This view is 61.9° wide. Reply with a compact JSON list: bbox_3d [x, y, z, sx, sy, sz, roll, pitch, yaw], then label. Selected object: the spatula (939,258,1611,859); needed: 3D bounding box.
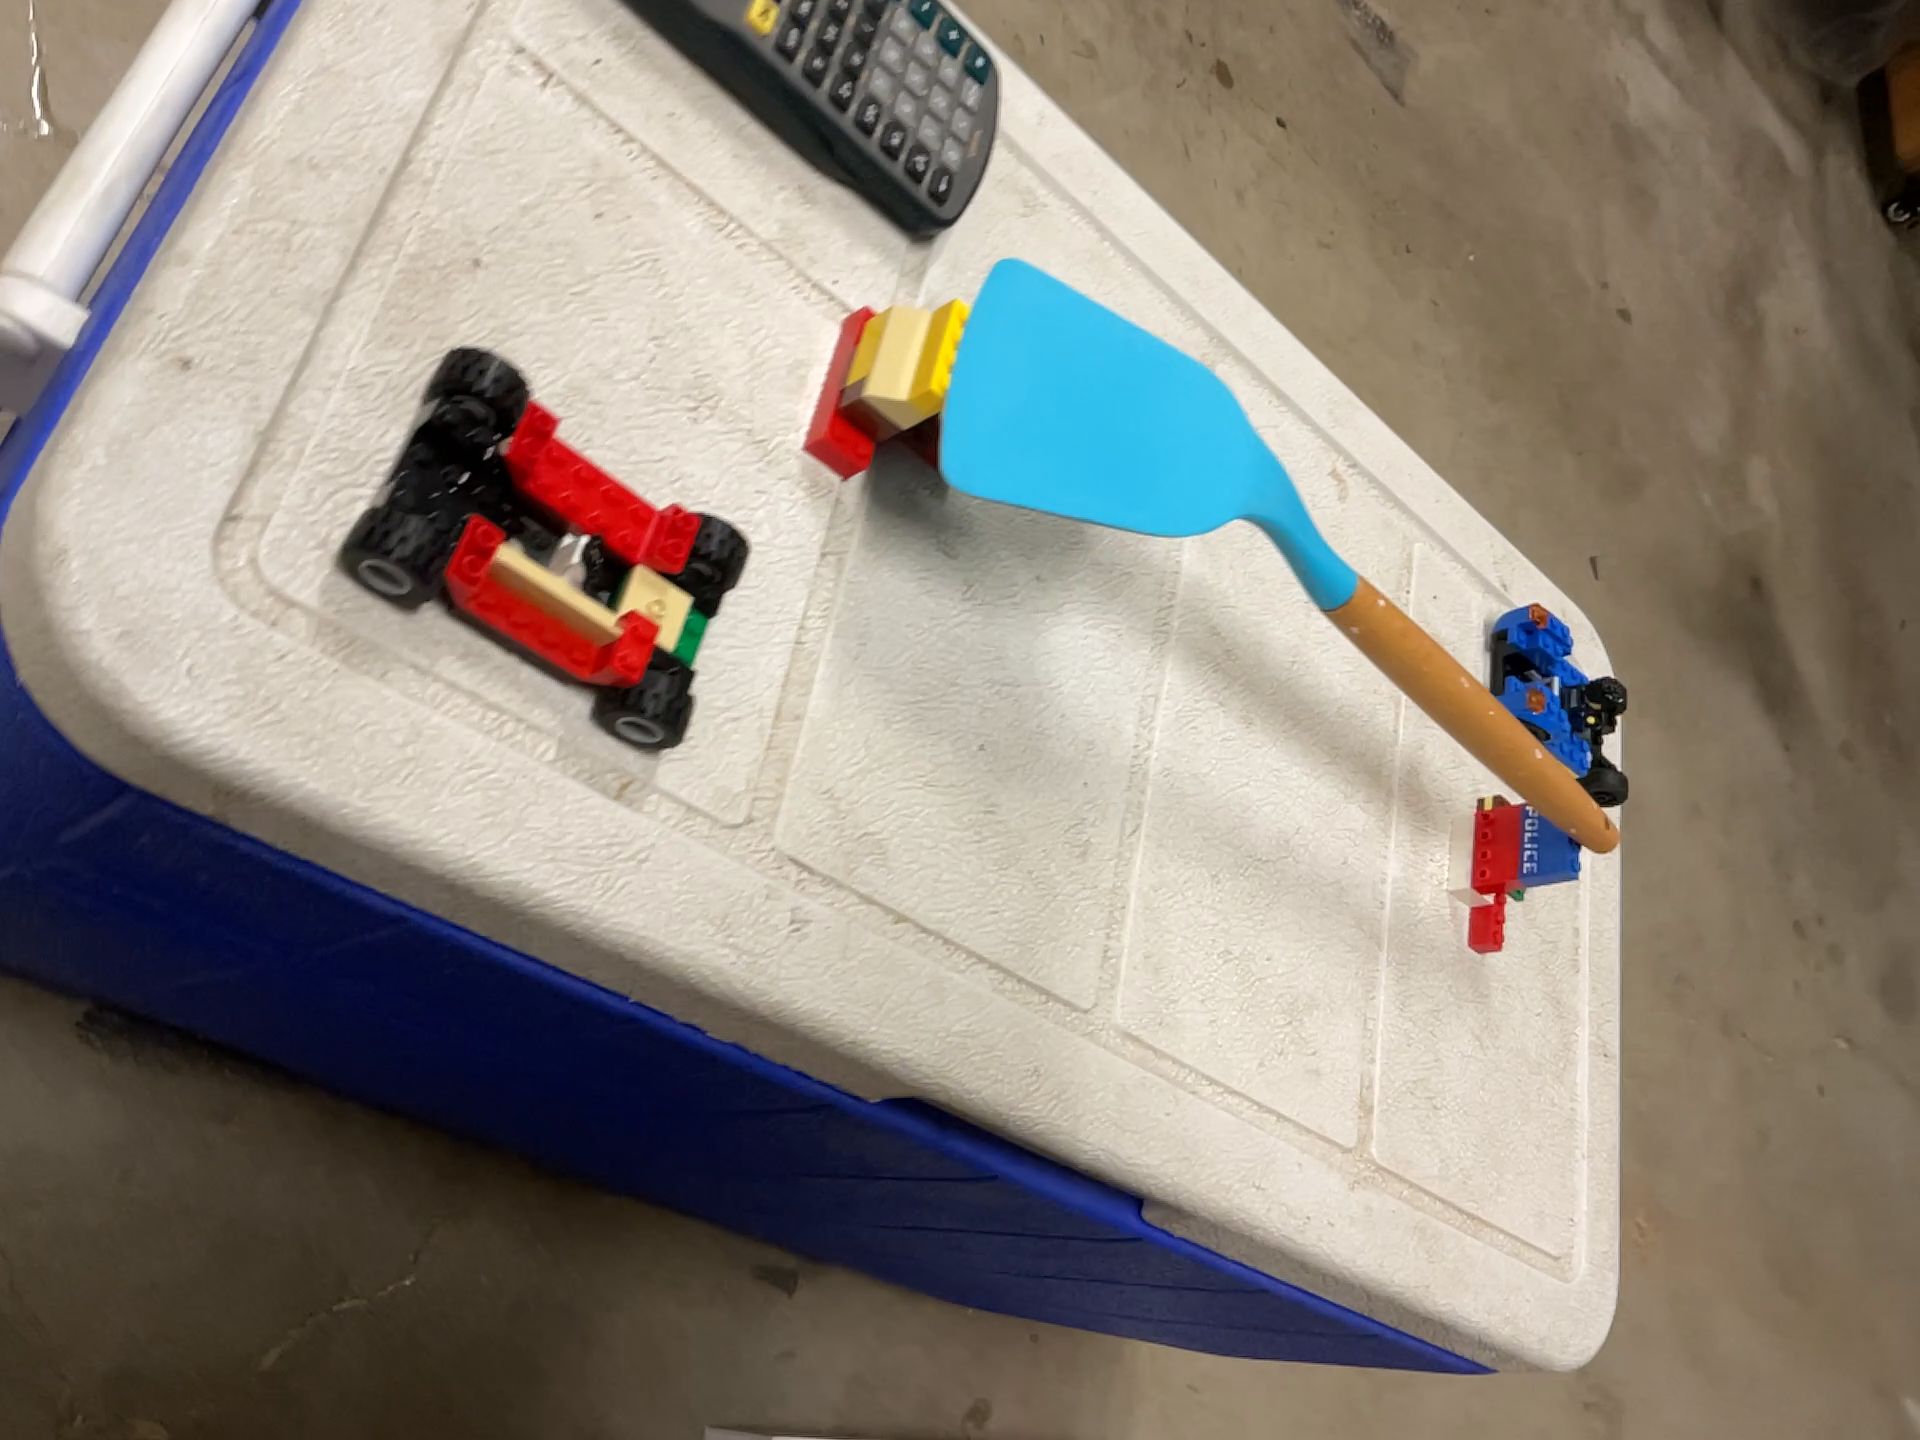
[{"bbox_3d":[0.120,-0.026,0.498,0.318,0.044,0.082,35,54,-36],"label":"spatula"}]
